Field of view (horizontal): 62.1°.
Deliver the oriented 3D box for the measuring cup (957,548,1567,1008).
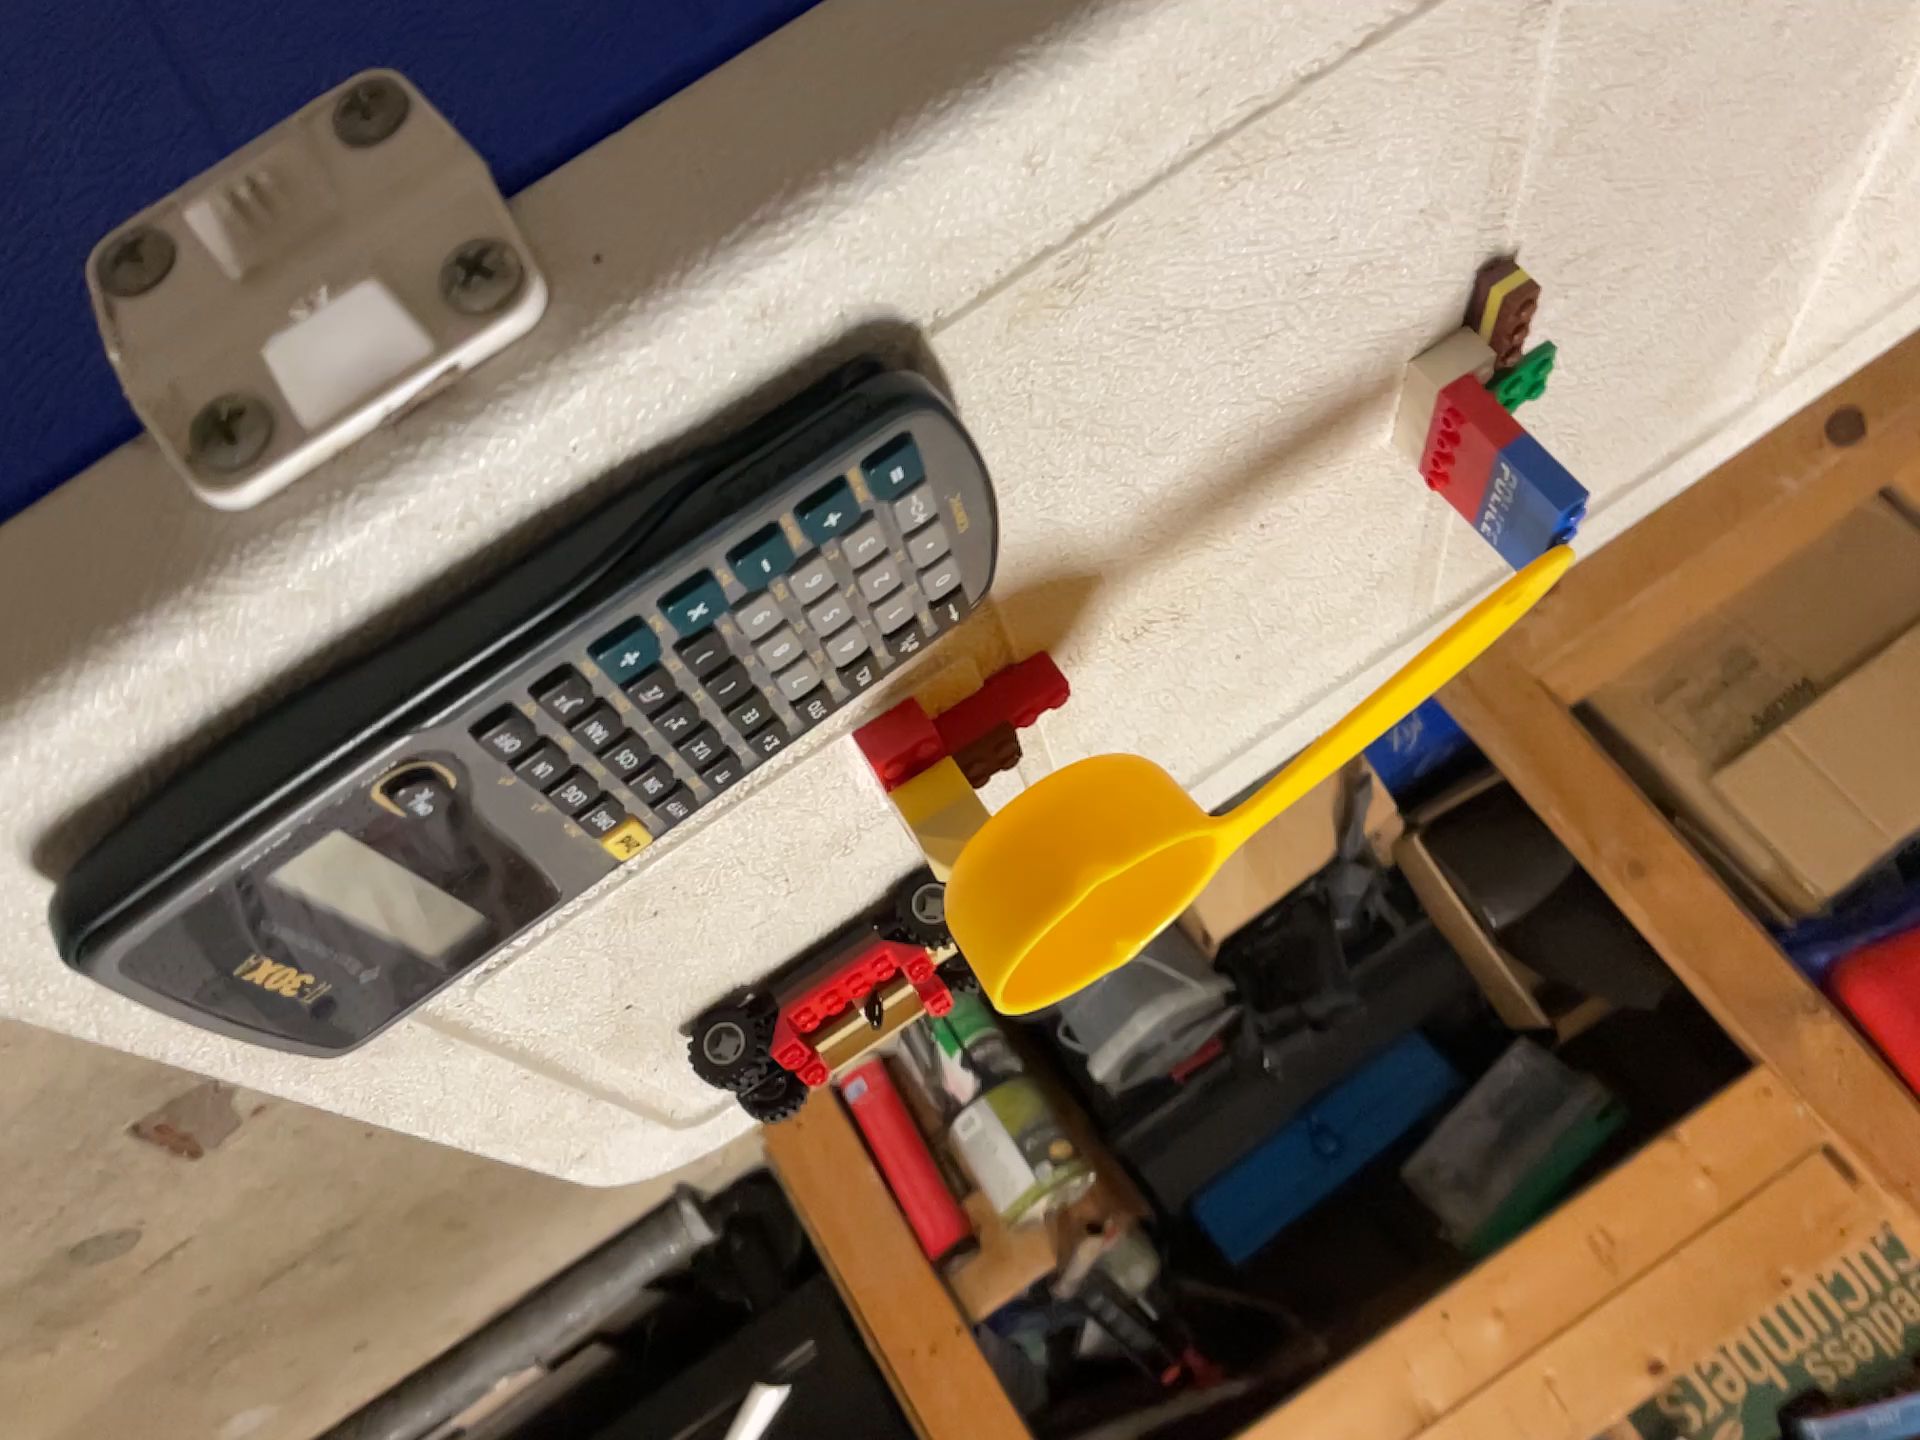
[{"bbox_3d":[0.064,0.004,0.347,0.156,0.029,0.062,-38,156,-5],"label":"measuring cup"}]
